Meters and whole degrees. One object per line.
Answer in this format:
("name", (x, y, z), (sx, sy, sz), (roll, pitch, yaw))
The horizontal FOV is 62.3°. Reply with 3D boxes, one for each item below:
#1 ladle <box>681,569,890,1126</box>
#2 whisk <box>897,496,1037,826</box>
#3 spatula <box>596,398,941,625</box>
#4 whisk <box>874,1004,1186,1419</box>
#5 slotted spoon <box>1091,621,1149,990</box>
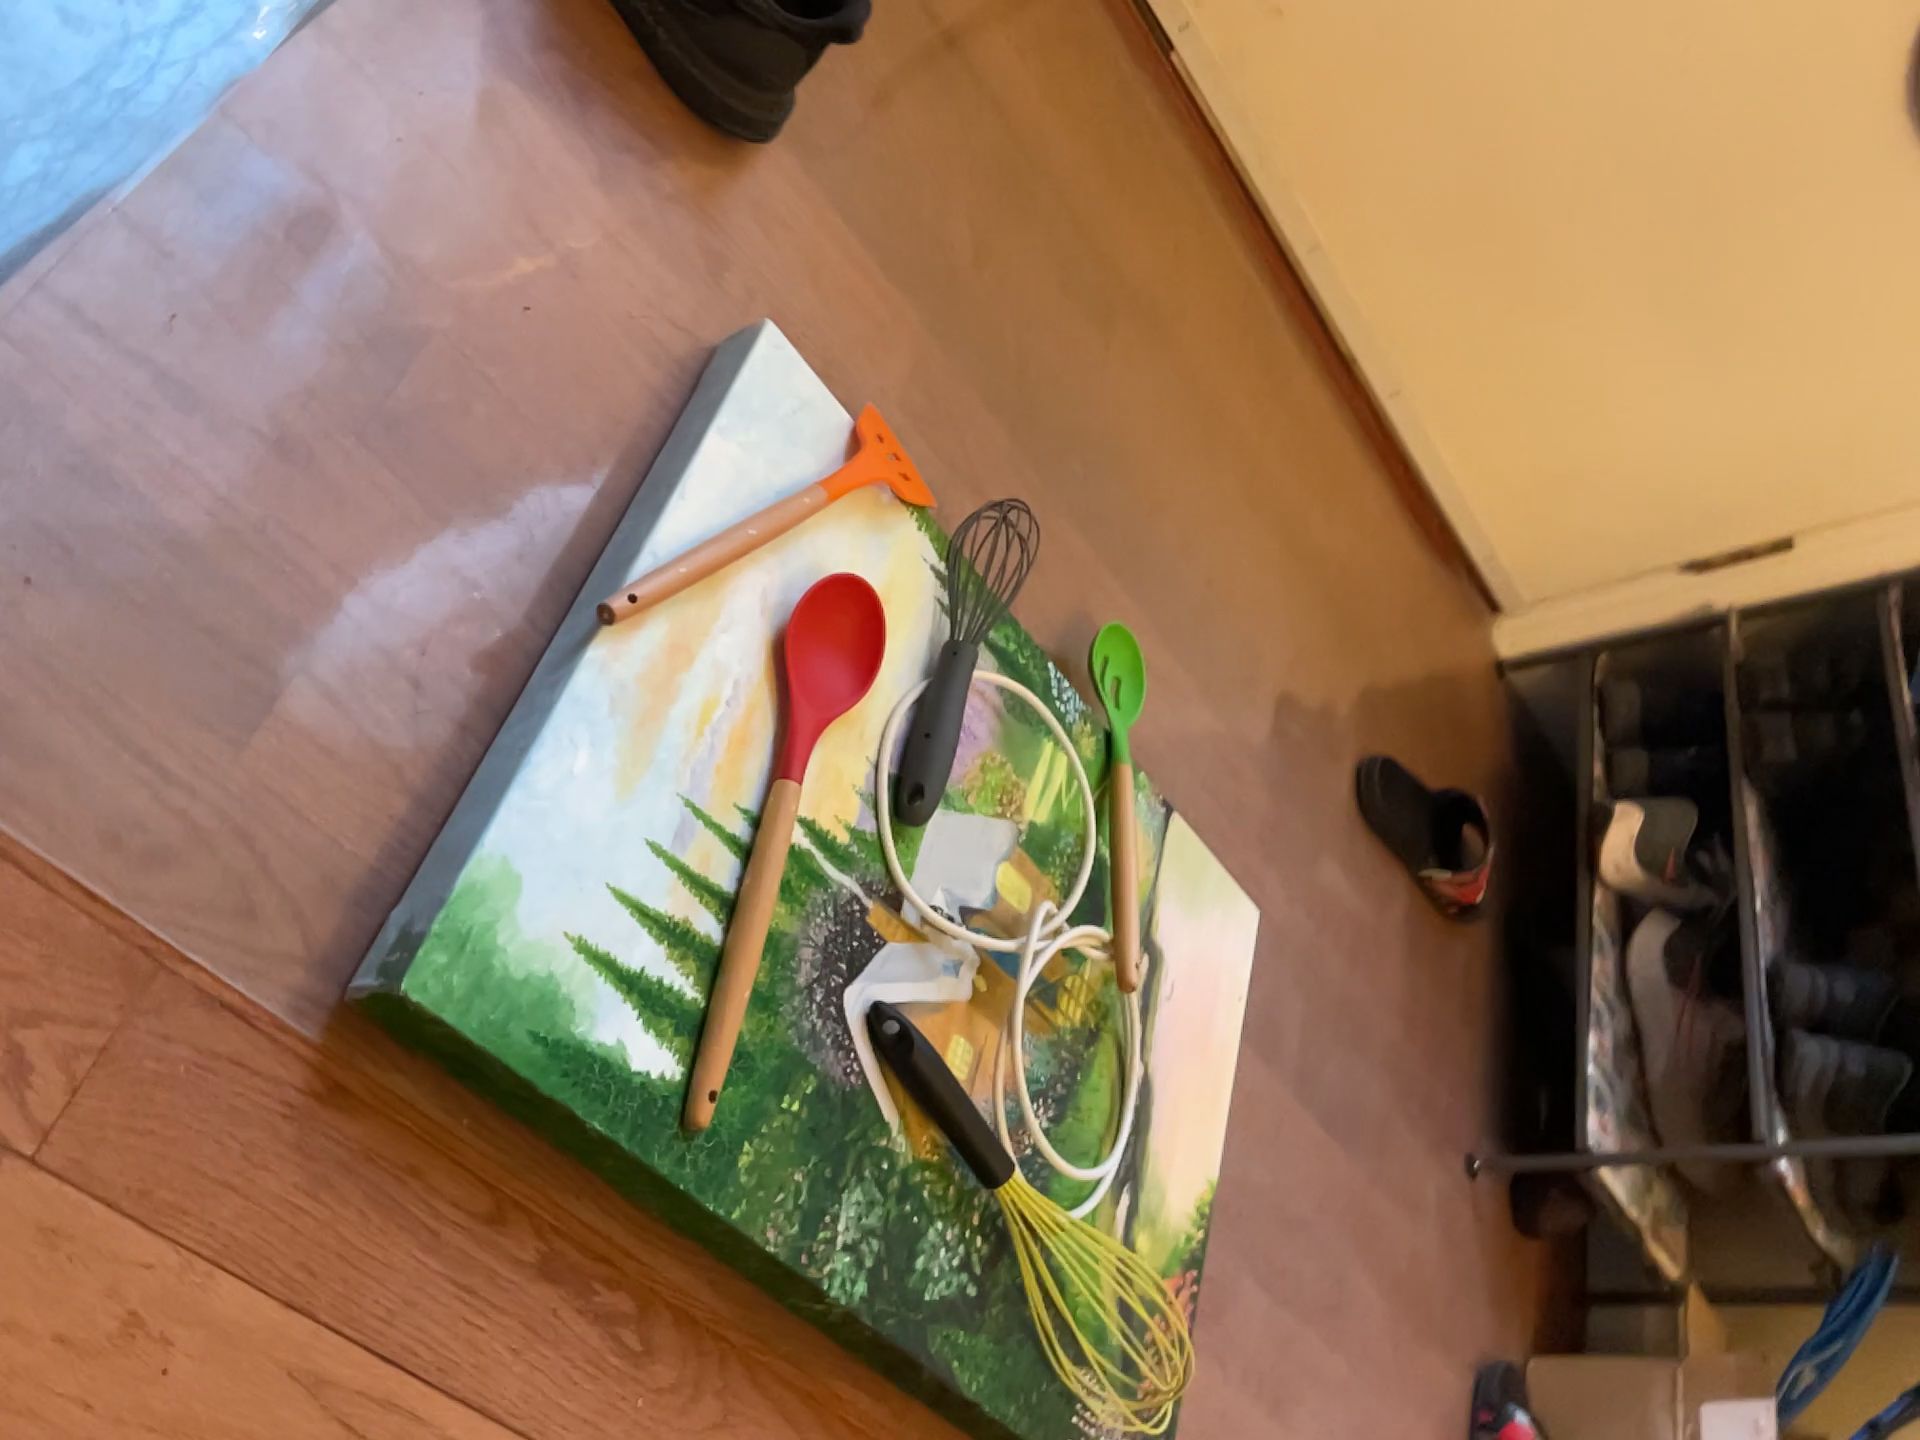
("ladle", (-0.093, 0.056, 0.821), (0.069, 0.031, 0.316), (40, 51, -37))
("whisk", (0.003, -0.041, 0.970), (0.055, 0.055, 0.239), (34, 58, -30))
("spatula", (-0.098, -0.115, 0.892), (0.081, 0.041, 0.323), (57, 40, -6))
("whisk", (0.038, 0.280, 0.901), (0.311, 0.067, 0.080), (56, 34, -16))
("slotted spoon", (0.110, 0.051, 1.088), (0.070, 0.031, 0.314), (47, 33, -35))
